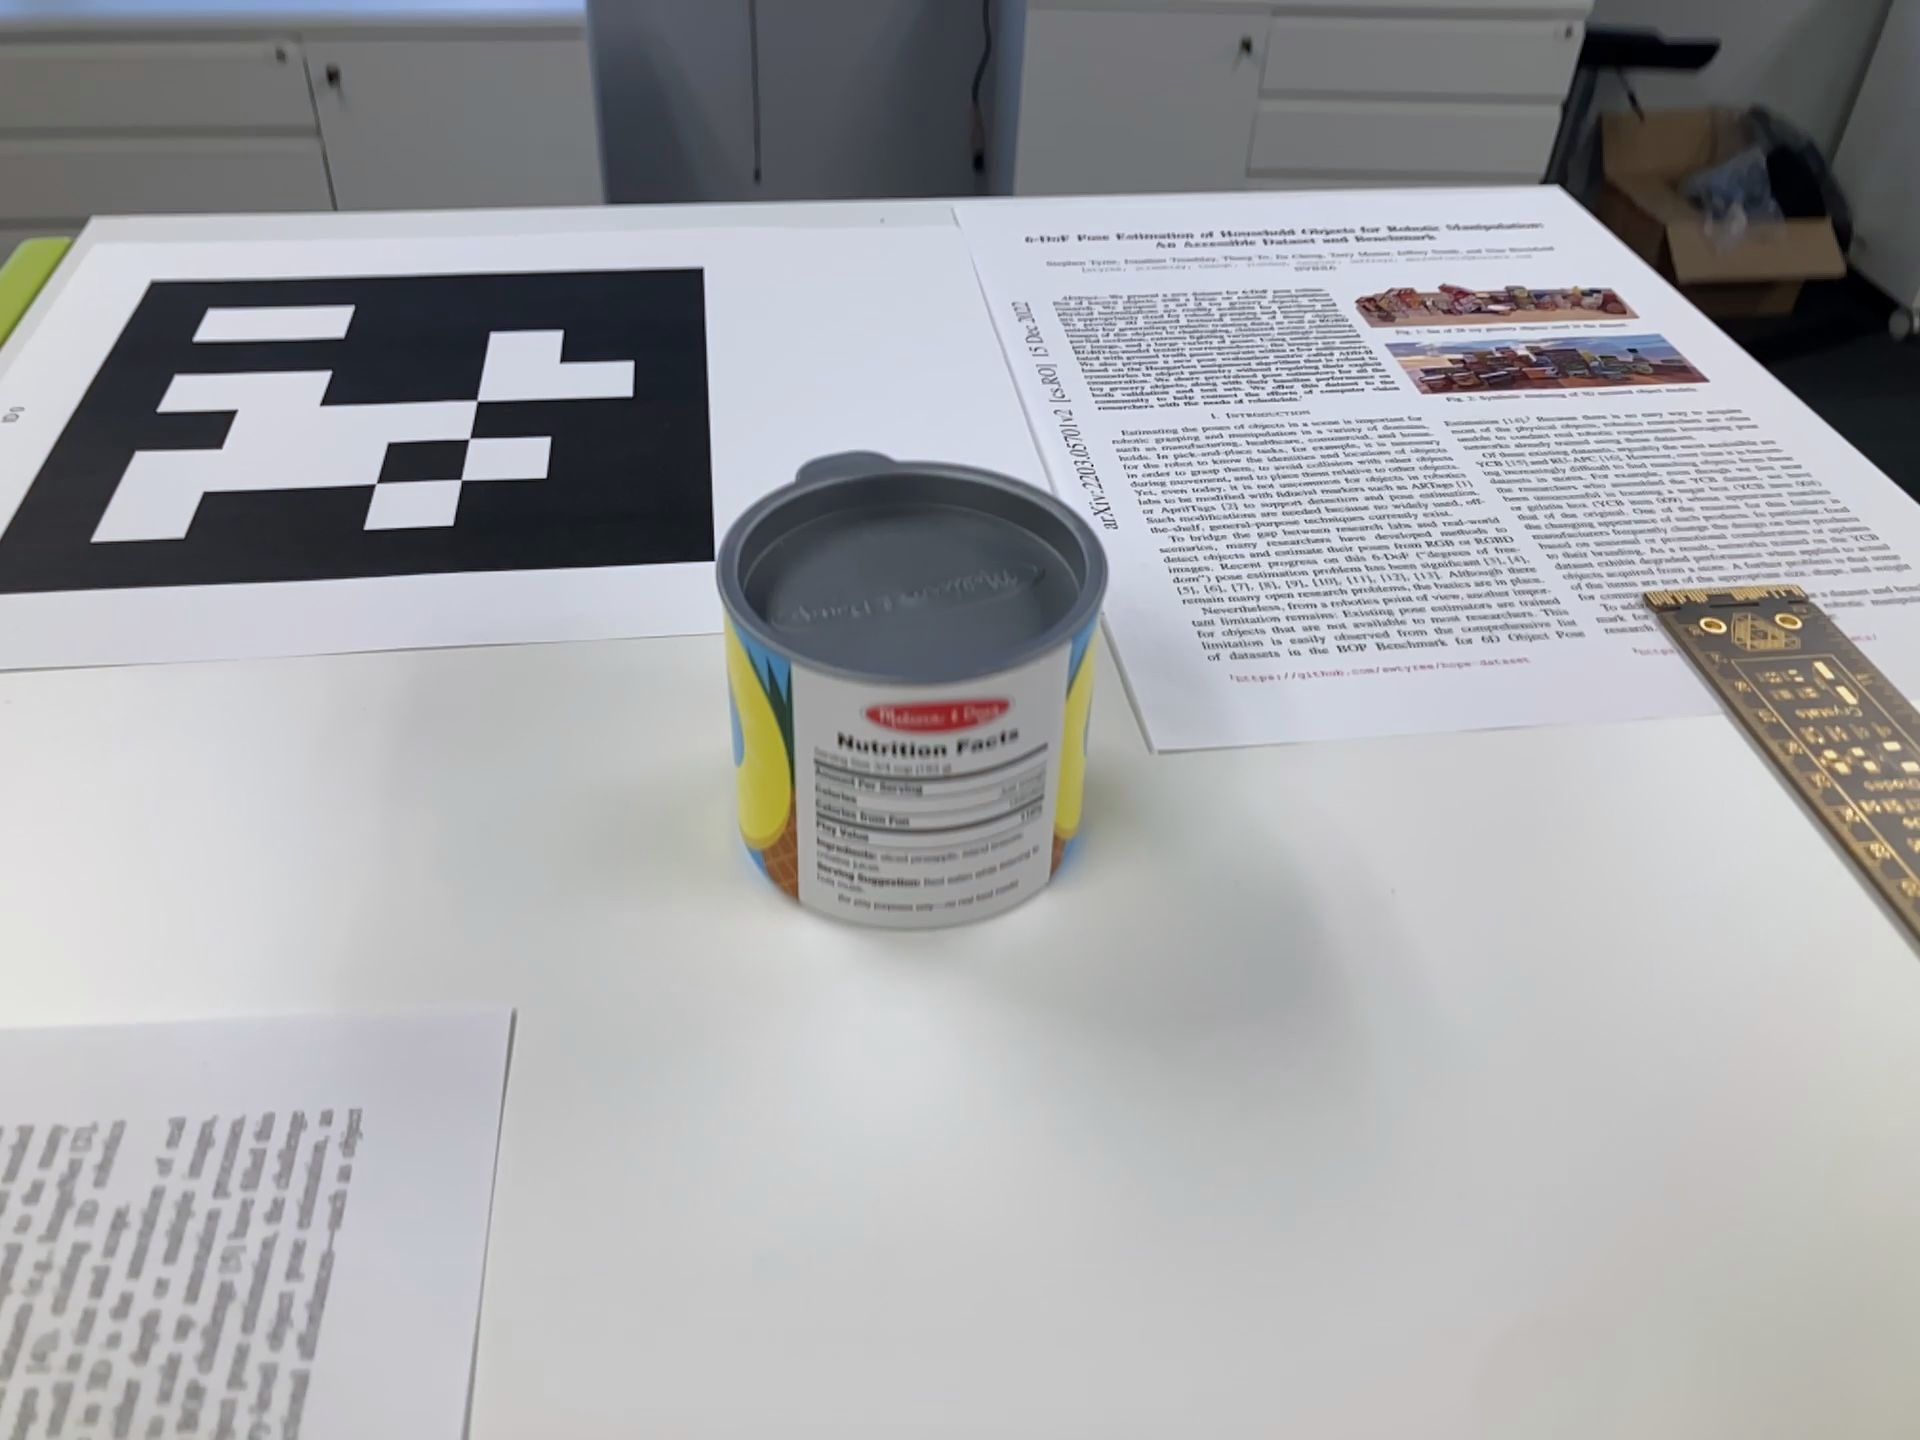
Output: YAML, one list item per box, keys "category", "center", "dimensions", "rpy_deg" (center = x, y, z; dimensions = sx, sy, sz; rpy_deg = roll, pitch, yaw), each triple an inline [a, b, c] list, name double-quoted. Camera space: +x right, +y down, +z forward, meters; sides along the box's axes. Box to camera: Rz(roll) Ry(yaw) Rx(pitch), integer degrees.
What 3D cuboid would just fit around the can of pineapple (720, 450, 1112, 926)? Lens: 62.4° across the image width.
- category: "can of pineapple"
  center: [-0.009, -0.007, 0.287]
  dimensions: [0.071, 0.058, 0.071]
  rpy_deg: [2, 39, -2]
